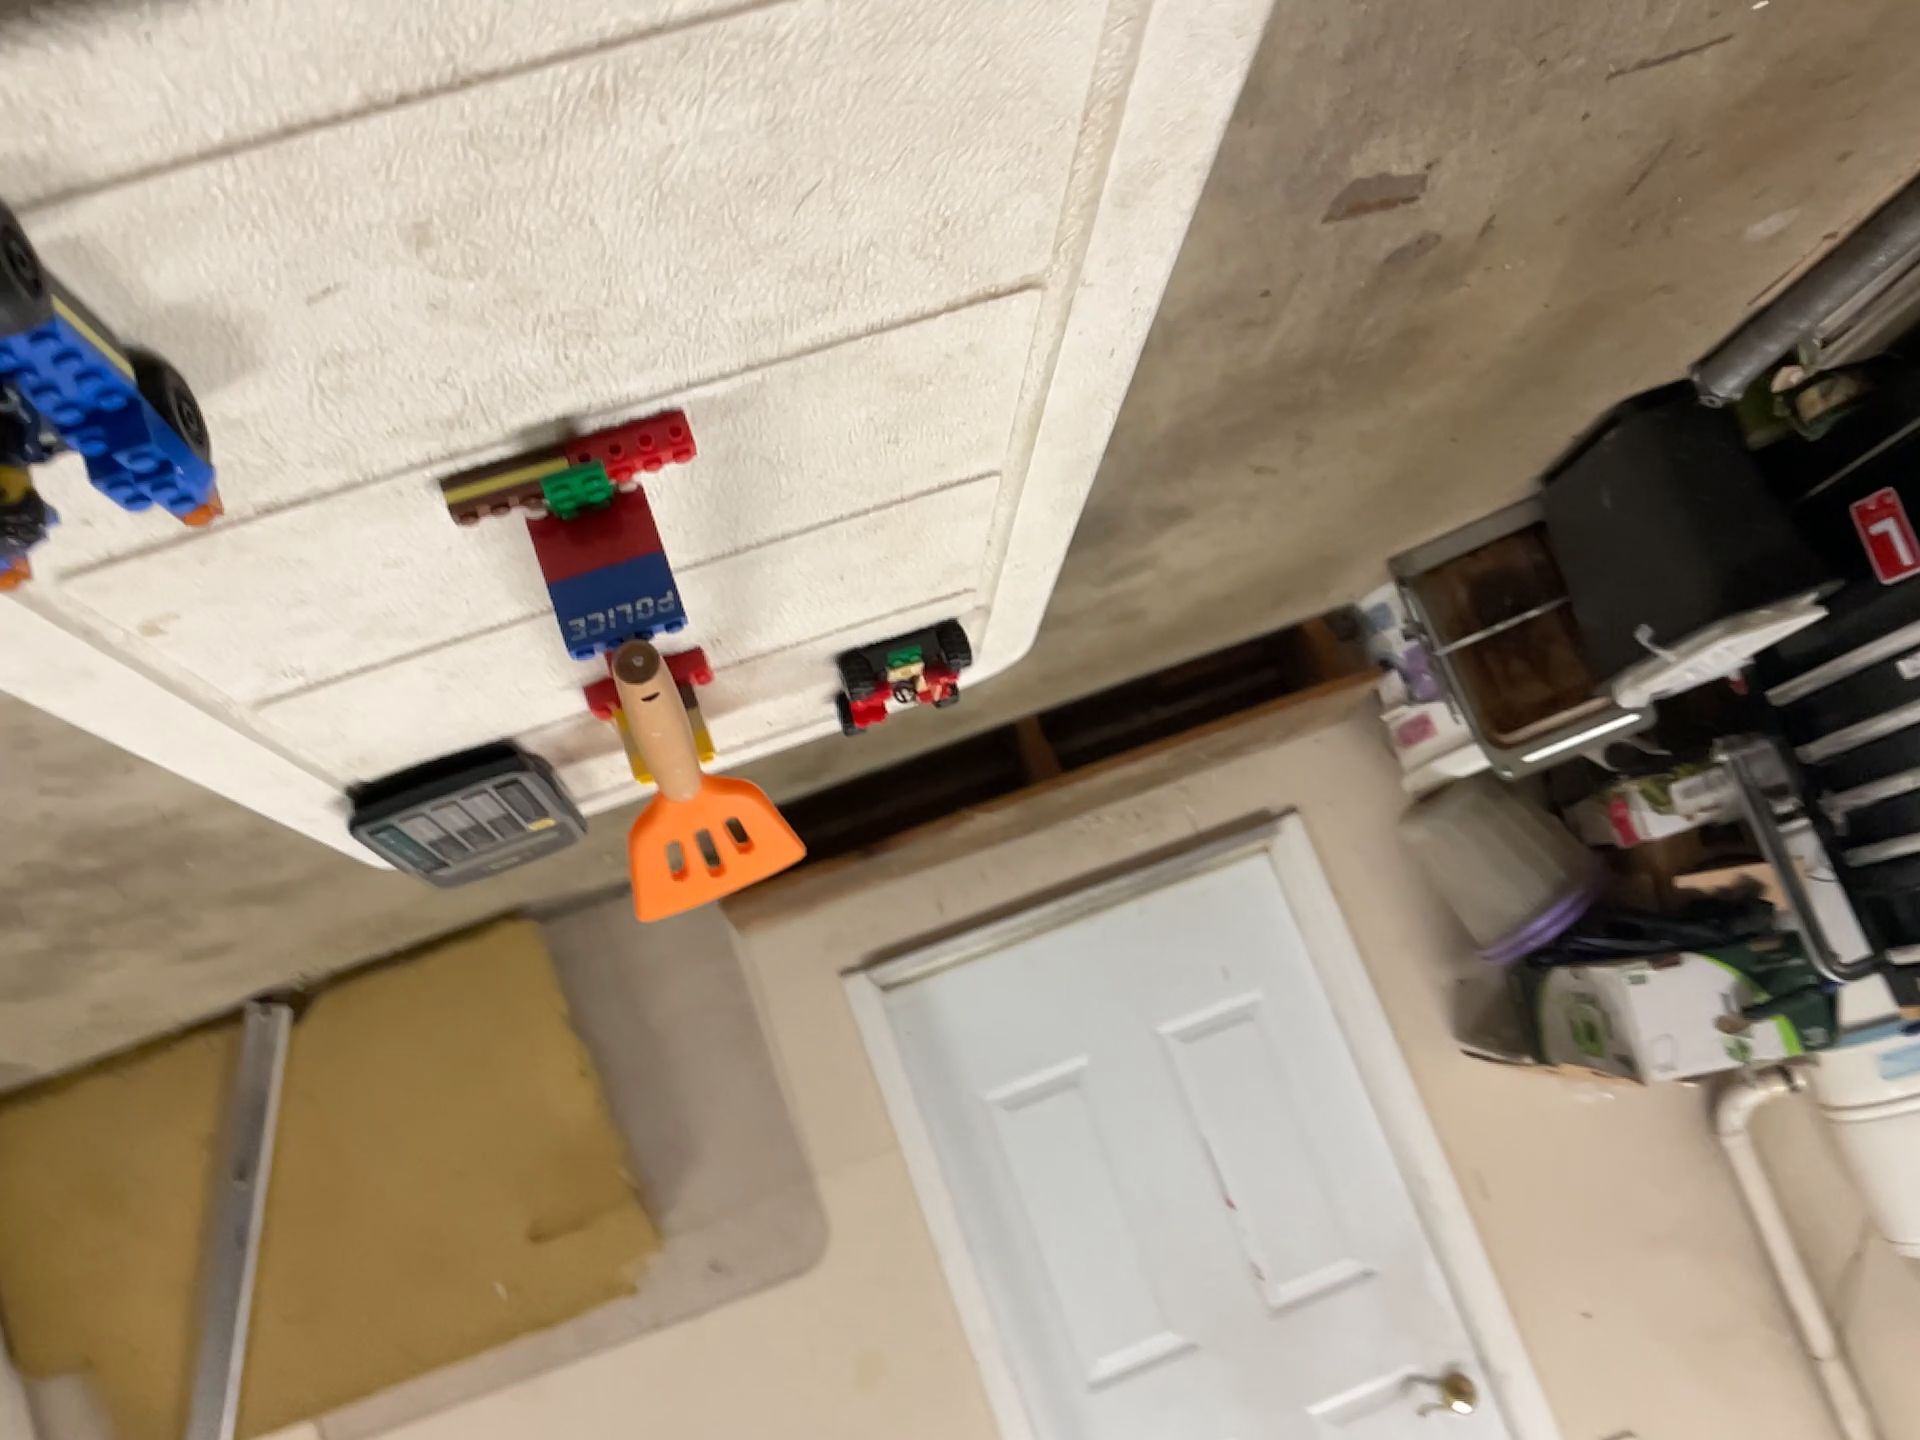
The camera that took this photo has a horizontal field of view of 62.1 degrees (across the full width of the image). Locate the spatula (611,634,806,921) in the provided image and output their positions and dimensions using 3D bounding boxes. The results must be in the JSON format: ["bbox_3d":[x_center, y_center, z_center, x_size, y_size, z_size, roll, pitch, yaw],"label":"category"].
[{"bbox_3d":[-0.097,0.026,0.567,0.081,0.041,0.322,-22,171,-10],"label":"spatula"}]
